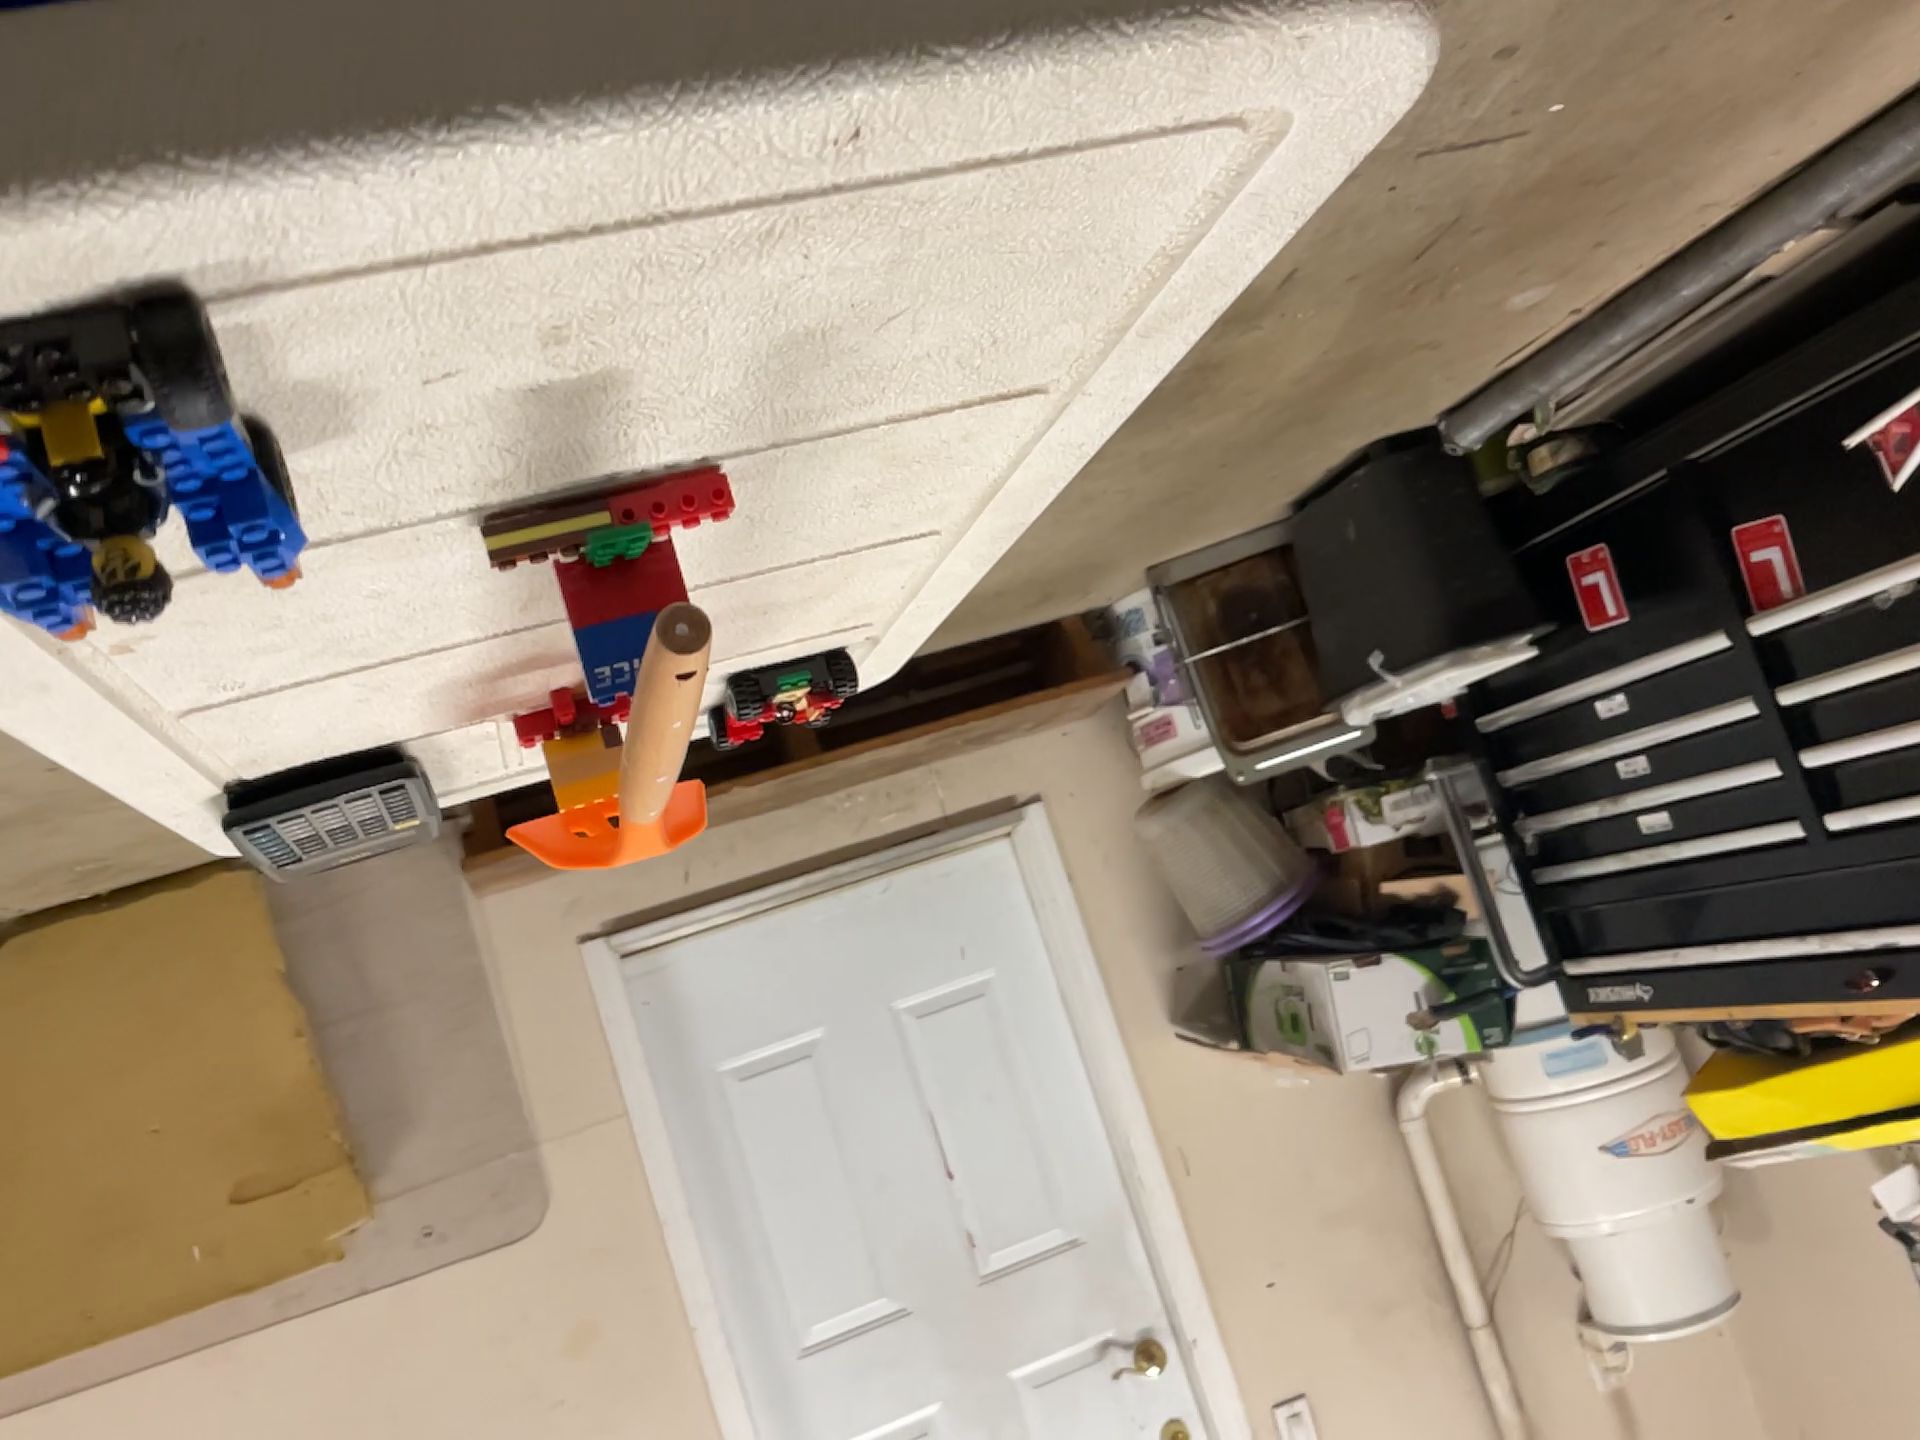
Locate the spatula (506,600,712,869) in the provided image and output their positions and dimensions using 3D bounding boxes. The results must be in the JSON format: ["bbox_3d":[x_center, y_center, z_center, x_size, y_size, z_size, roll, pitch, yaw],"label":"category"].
[{"bbox_3d":[-0.102,0.012,0.504,0.081,0.041,0.322,-15,169,-18],"label":"spatula"}]
